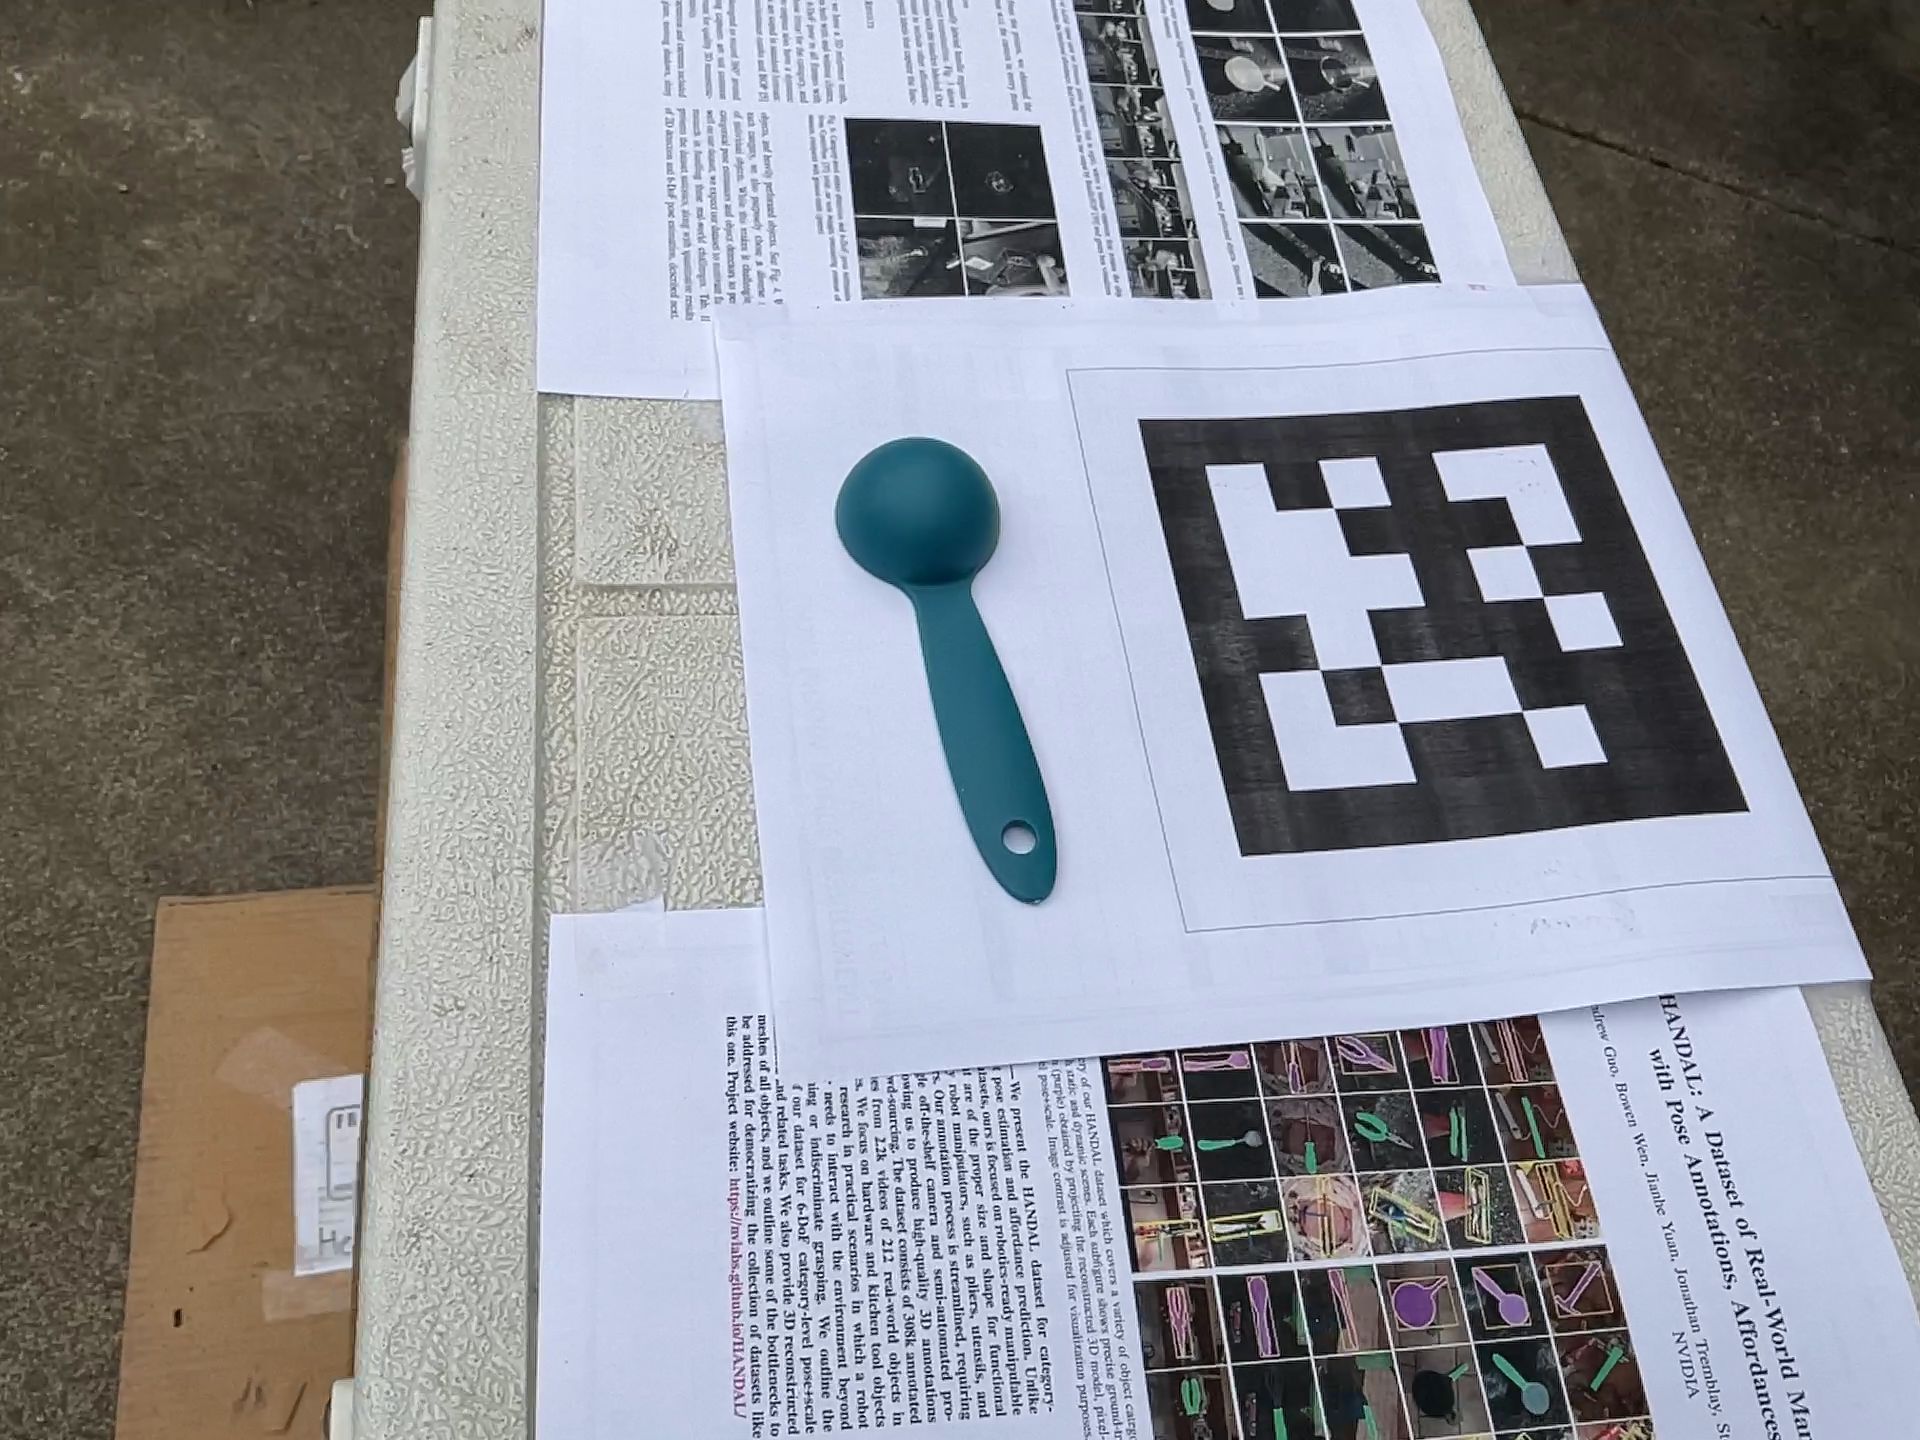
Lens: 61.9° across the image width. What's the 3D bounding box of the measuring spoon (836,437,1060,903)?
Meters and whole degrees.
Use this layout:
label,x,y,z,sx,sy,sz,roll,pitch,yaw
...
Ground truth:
label,x,y,z,sx,sy,sz,roll,pitch,yaw
measuring spoon,0.003,-0.019,0.380,0.042,0.021,0.129,-8,62,-19
